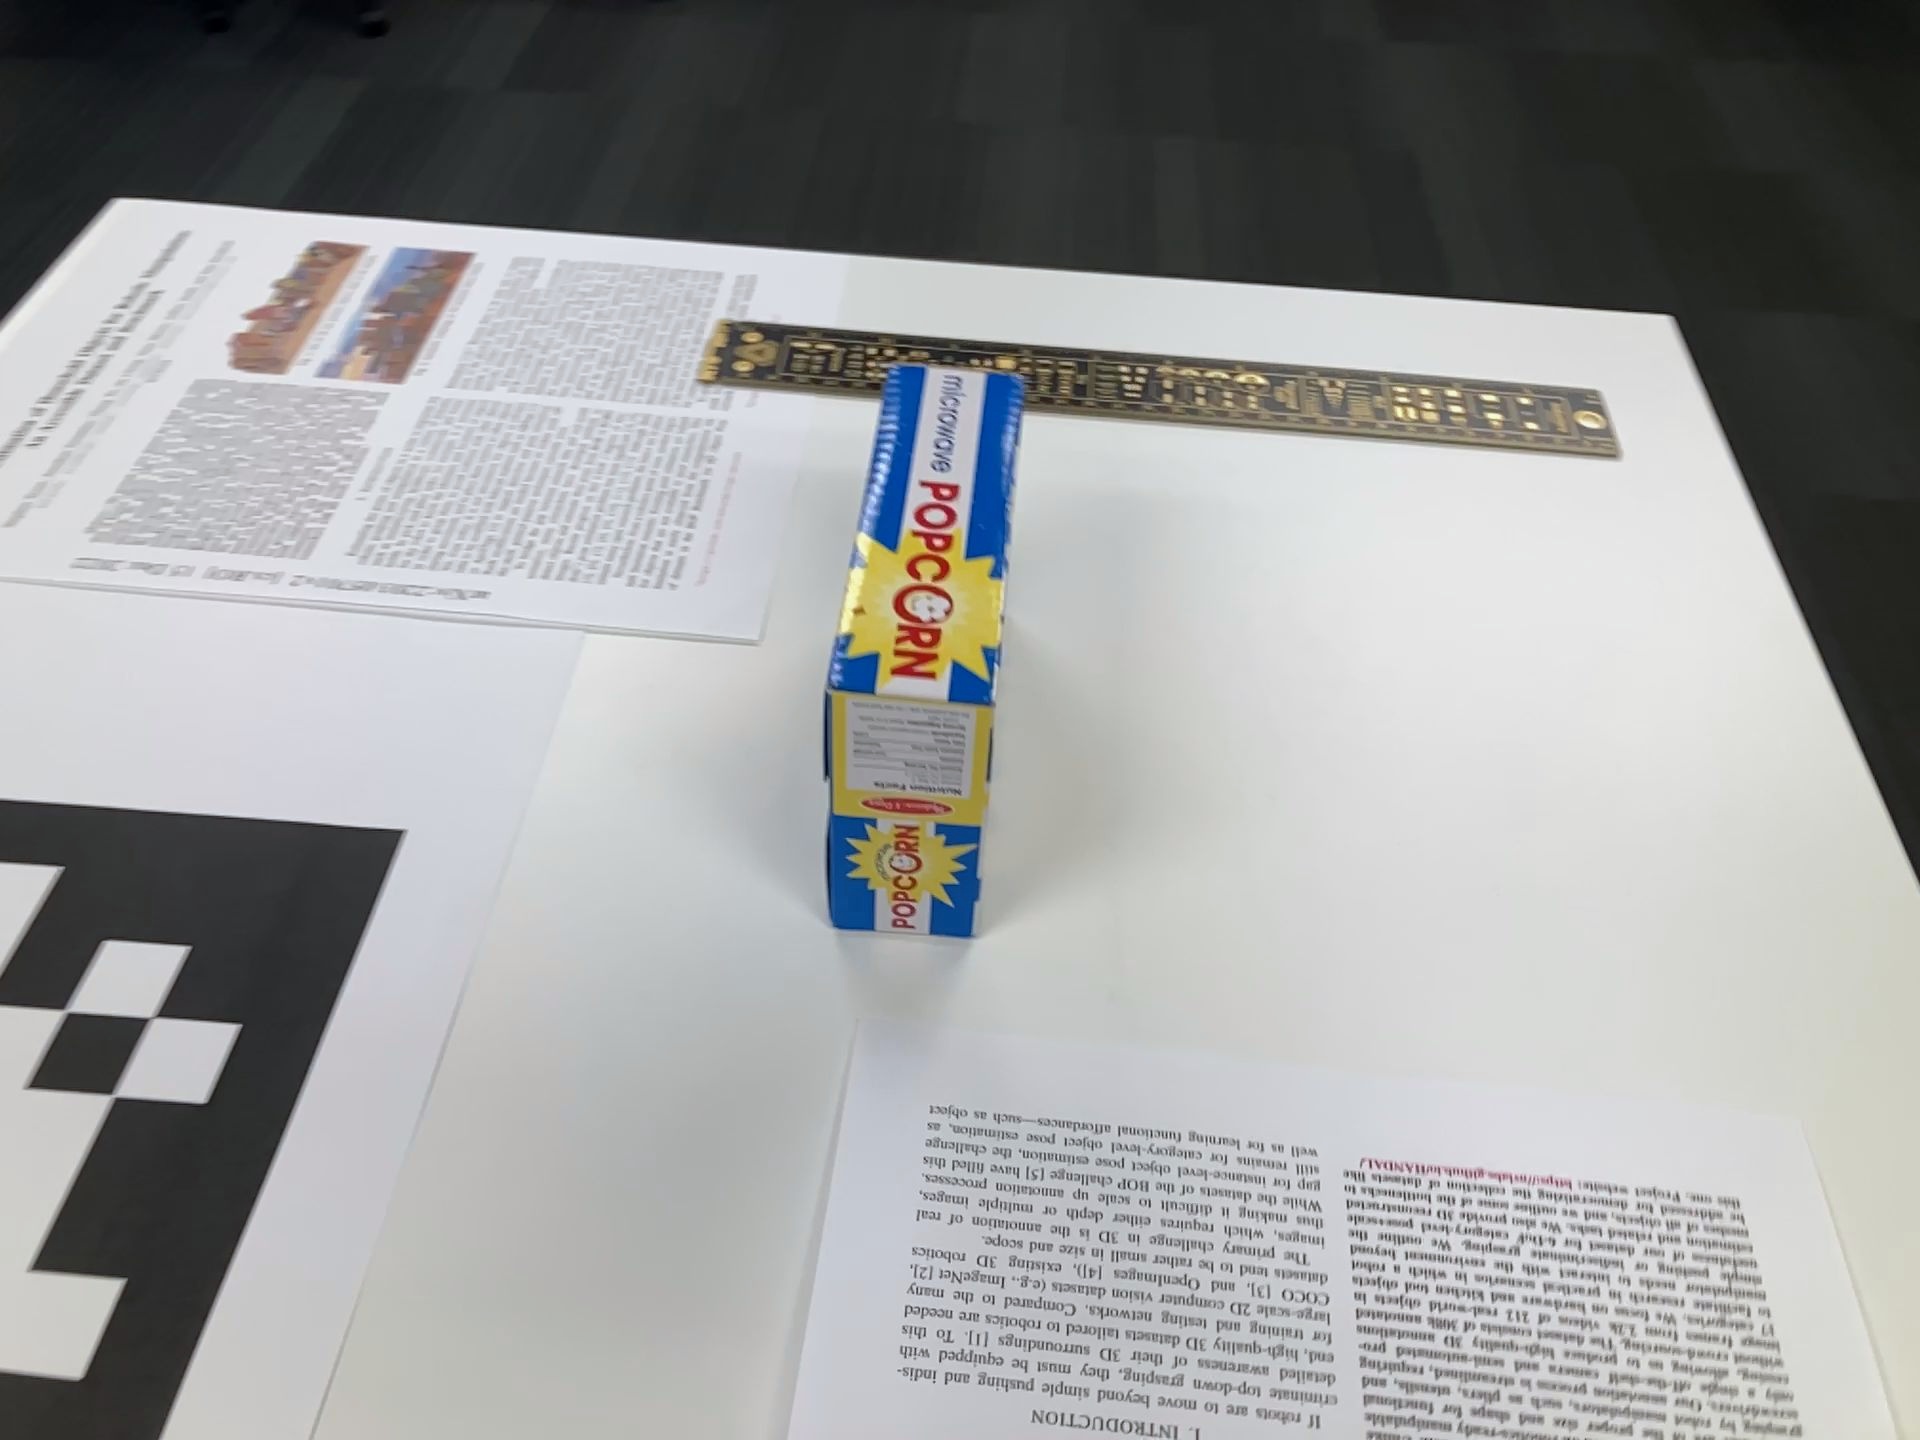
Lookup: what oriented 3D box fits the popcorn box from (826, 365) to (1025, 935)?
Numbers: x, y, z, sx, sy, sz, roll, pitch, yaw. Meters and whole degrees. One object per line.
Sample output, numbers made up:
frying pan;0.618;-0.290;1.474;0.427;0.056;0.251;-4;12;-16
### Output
popcorn box;-0.007;-0.021;0.407;0.038;0.085;0.126;6;46;1
